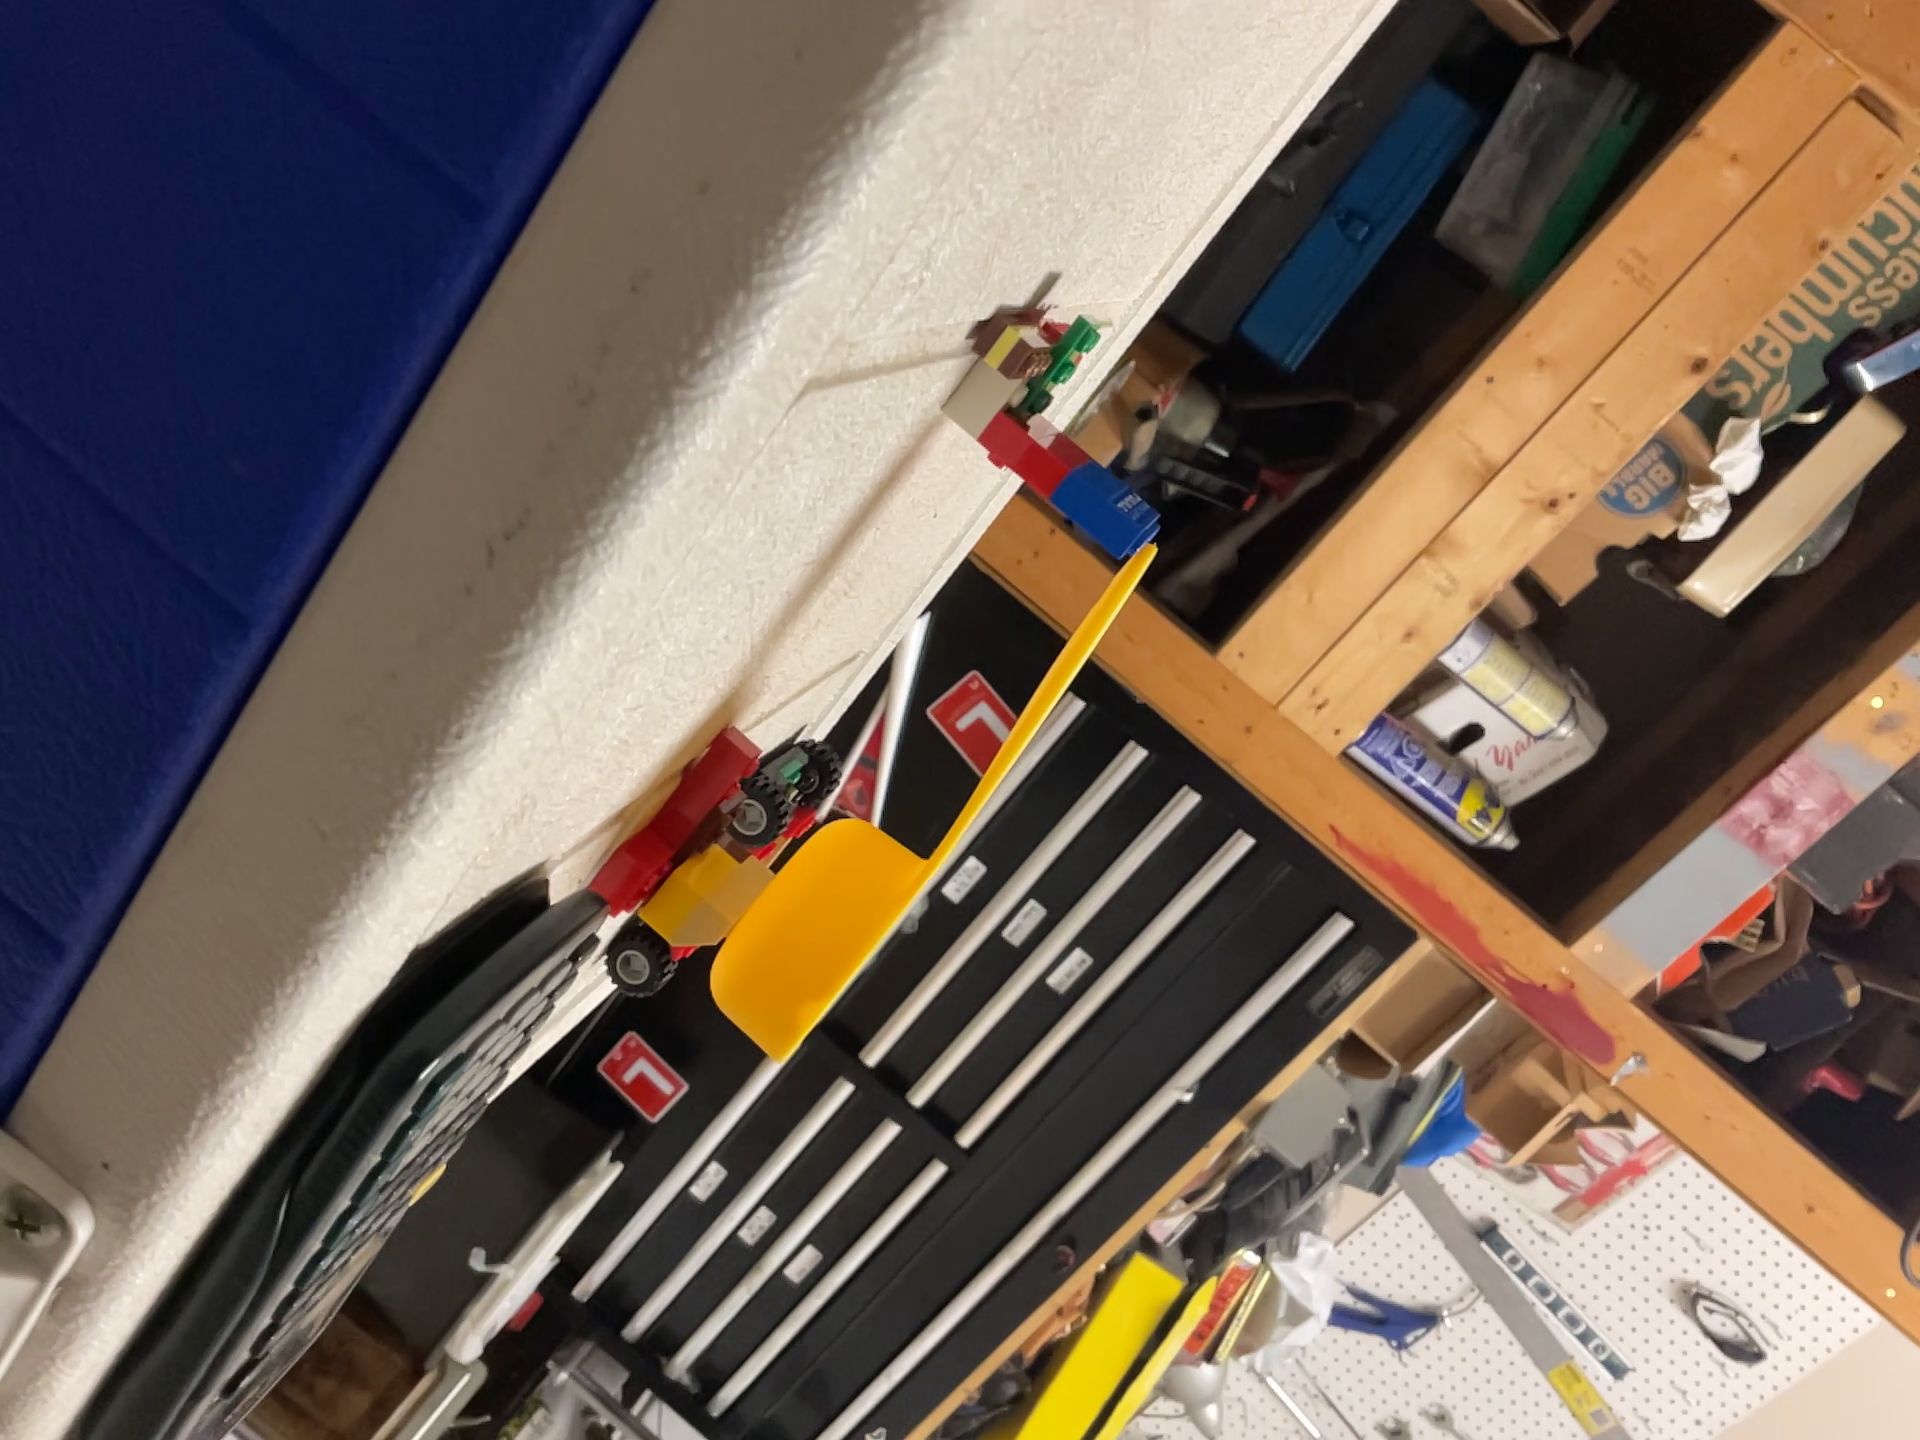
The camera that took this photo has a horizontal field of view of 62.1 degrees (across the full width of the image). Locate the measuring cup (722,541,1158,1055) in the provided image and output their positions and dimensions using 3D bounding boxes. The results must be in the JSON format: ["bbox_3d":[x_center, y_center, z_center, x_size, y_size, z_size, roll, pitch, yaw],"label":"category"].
[{"bbox_3d":[-0.008,0.014,0.376,0.156,0.029,0.062,-55,176,22],"label":"measuring cup"}]
